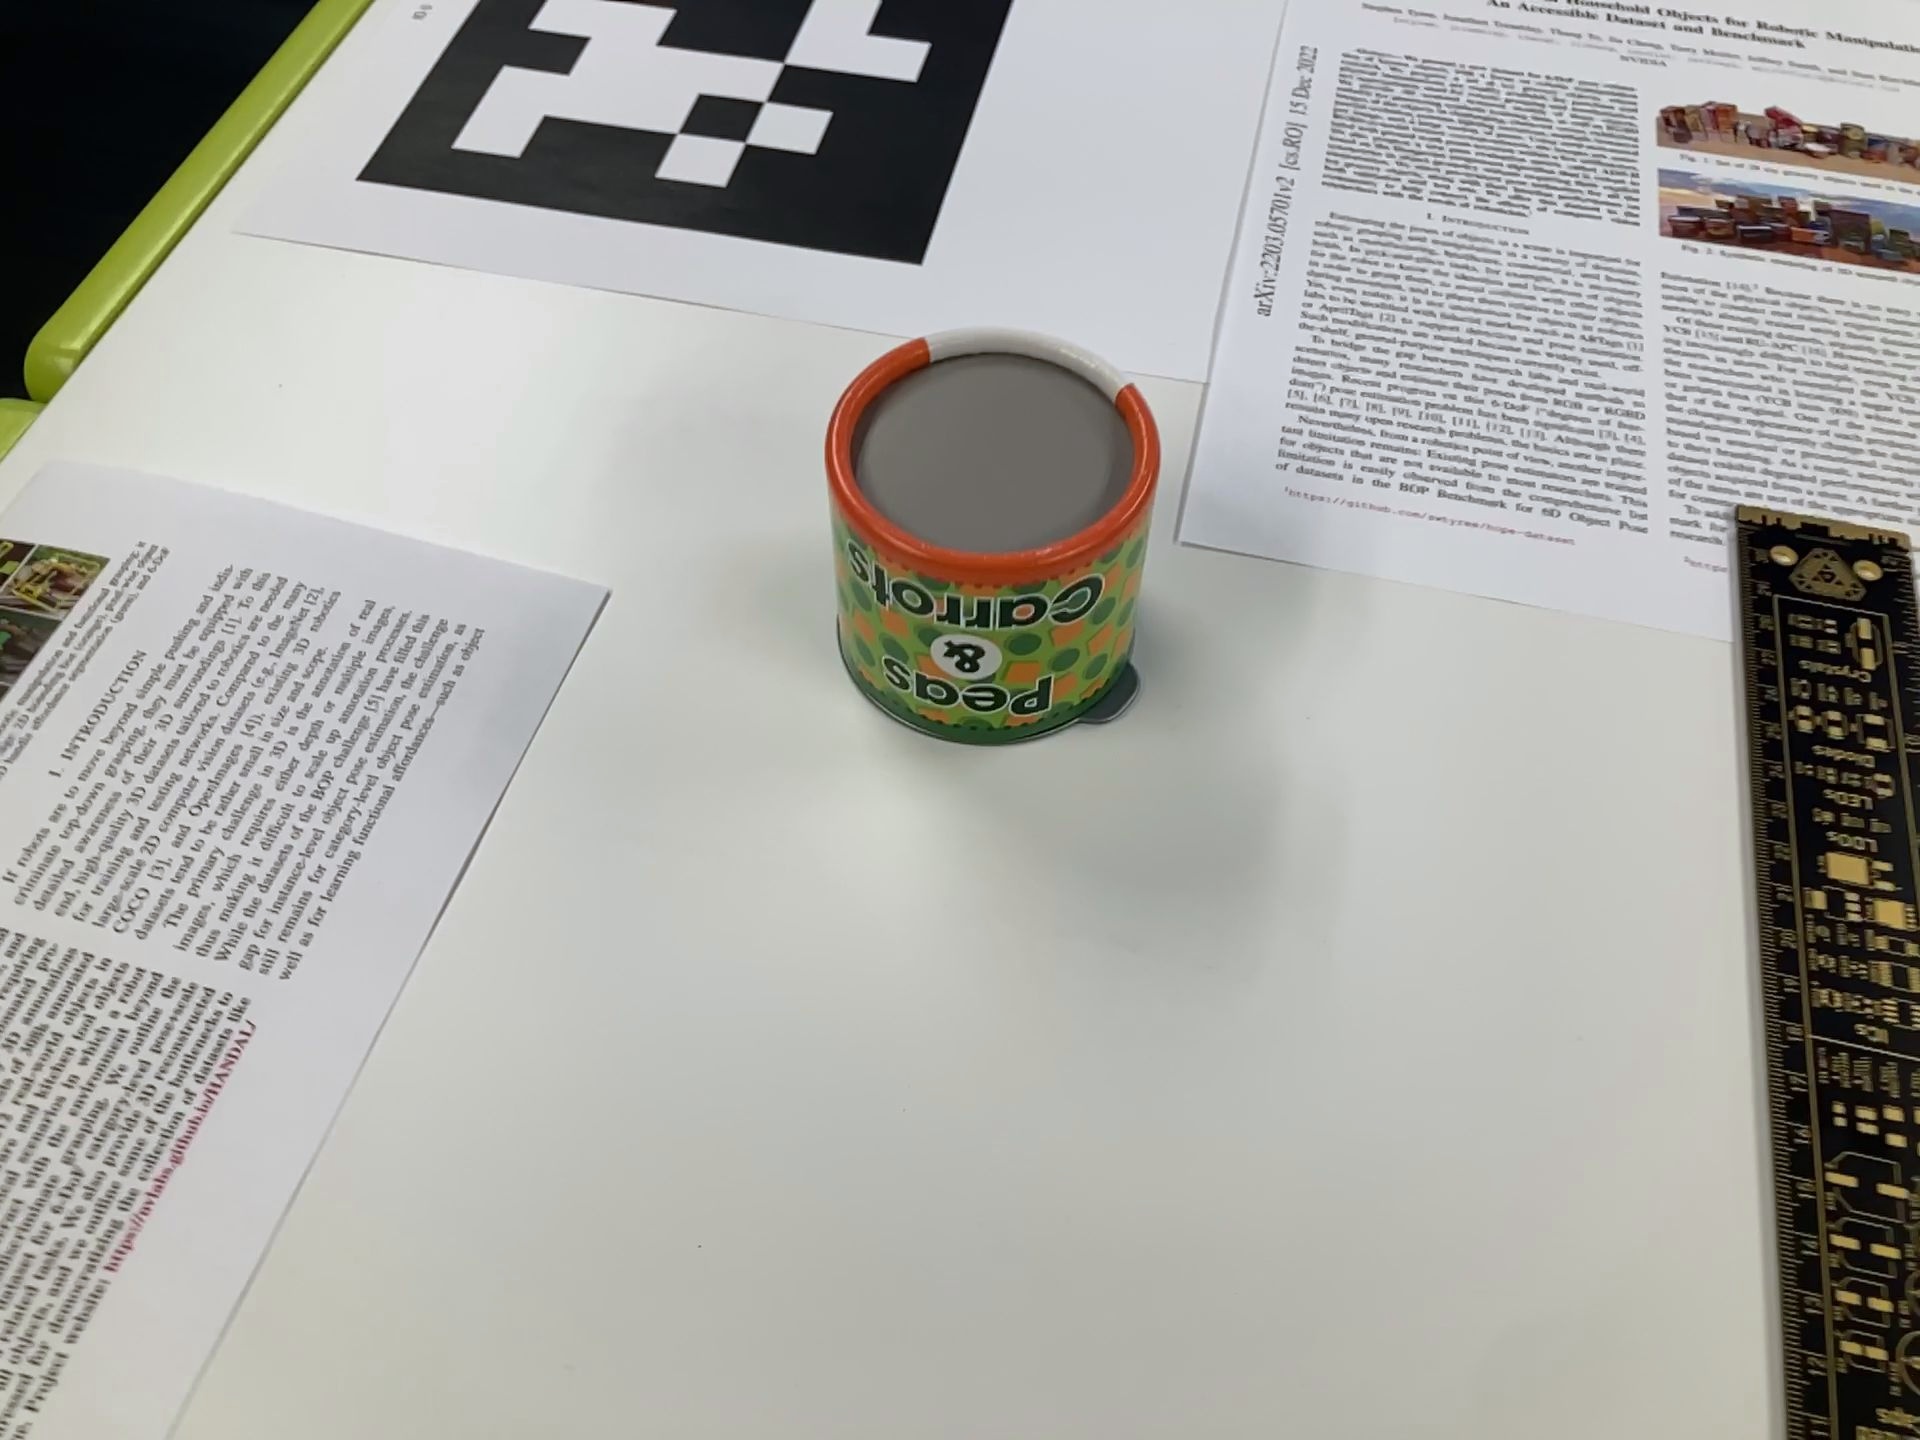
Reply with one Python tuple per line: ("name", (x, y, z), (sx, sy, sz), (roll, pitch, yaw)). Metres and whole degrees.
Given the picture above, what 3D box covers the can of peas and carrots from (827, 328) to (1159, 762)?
("can of peas and carrots", (0.006, -0.037, 0.331), (0.071, 0.059, 0.071), (0, 55, 0))
